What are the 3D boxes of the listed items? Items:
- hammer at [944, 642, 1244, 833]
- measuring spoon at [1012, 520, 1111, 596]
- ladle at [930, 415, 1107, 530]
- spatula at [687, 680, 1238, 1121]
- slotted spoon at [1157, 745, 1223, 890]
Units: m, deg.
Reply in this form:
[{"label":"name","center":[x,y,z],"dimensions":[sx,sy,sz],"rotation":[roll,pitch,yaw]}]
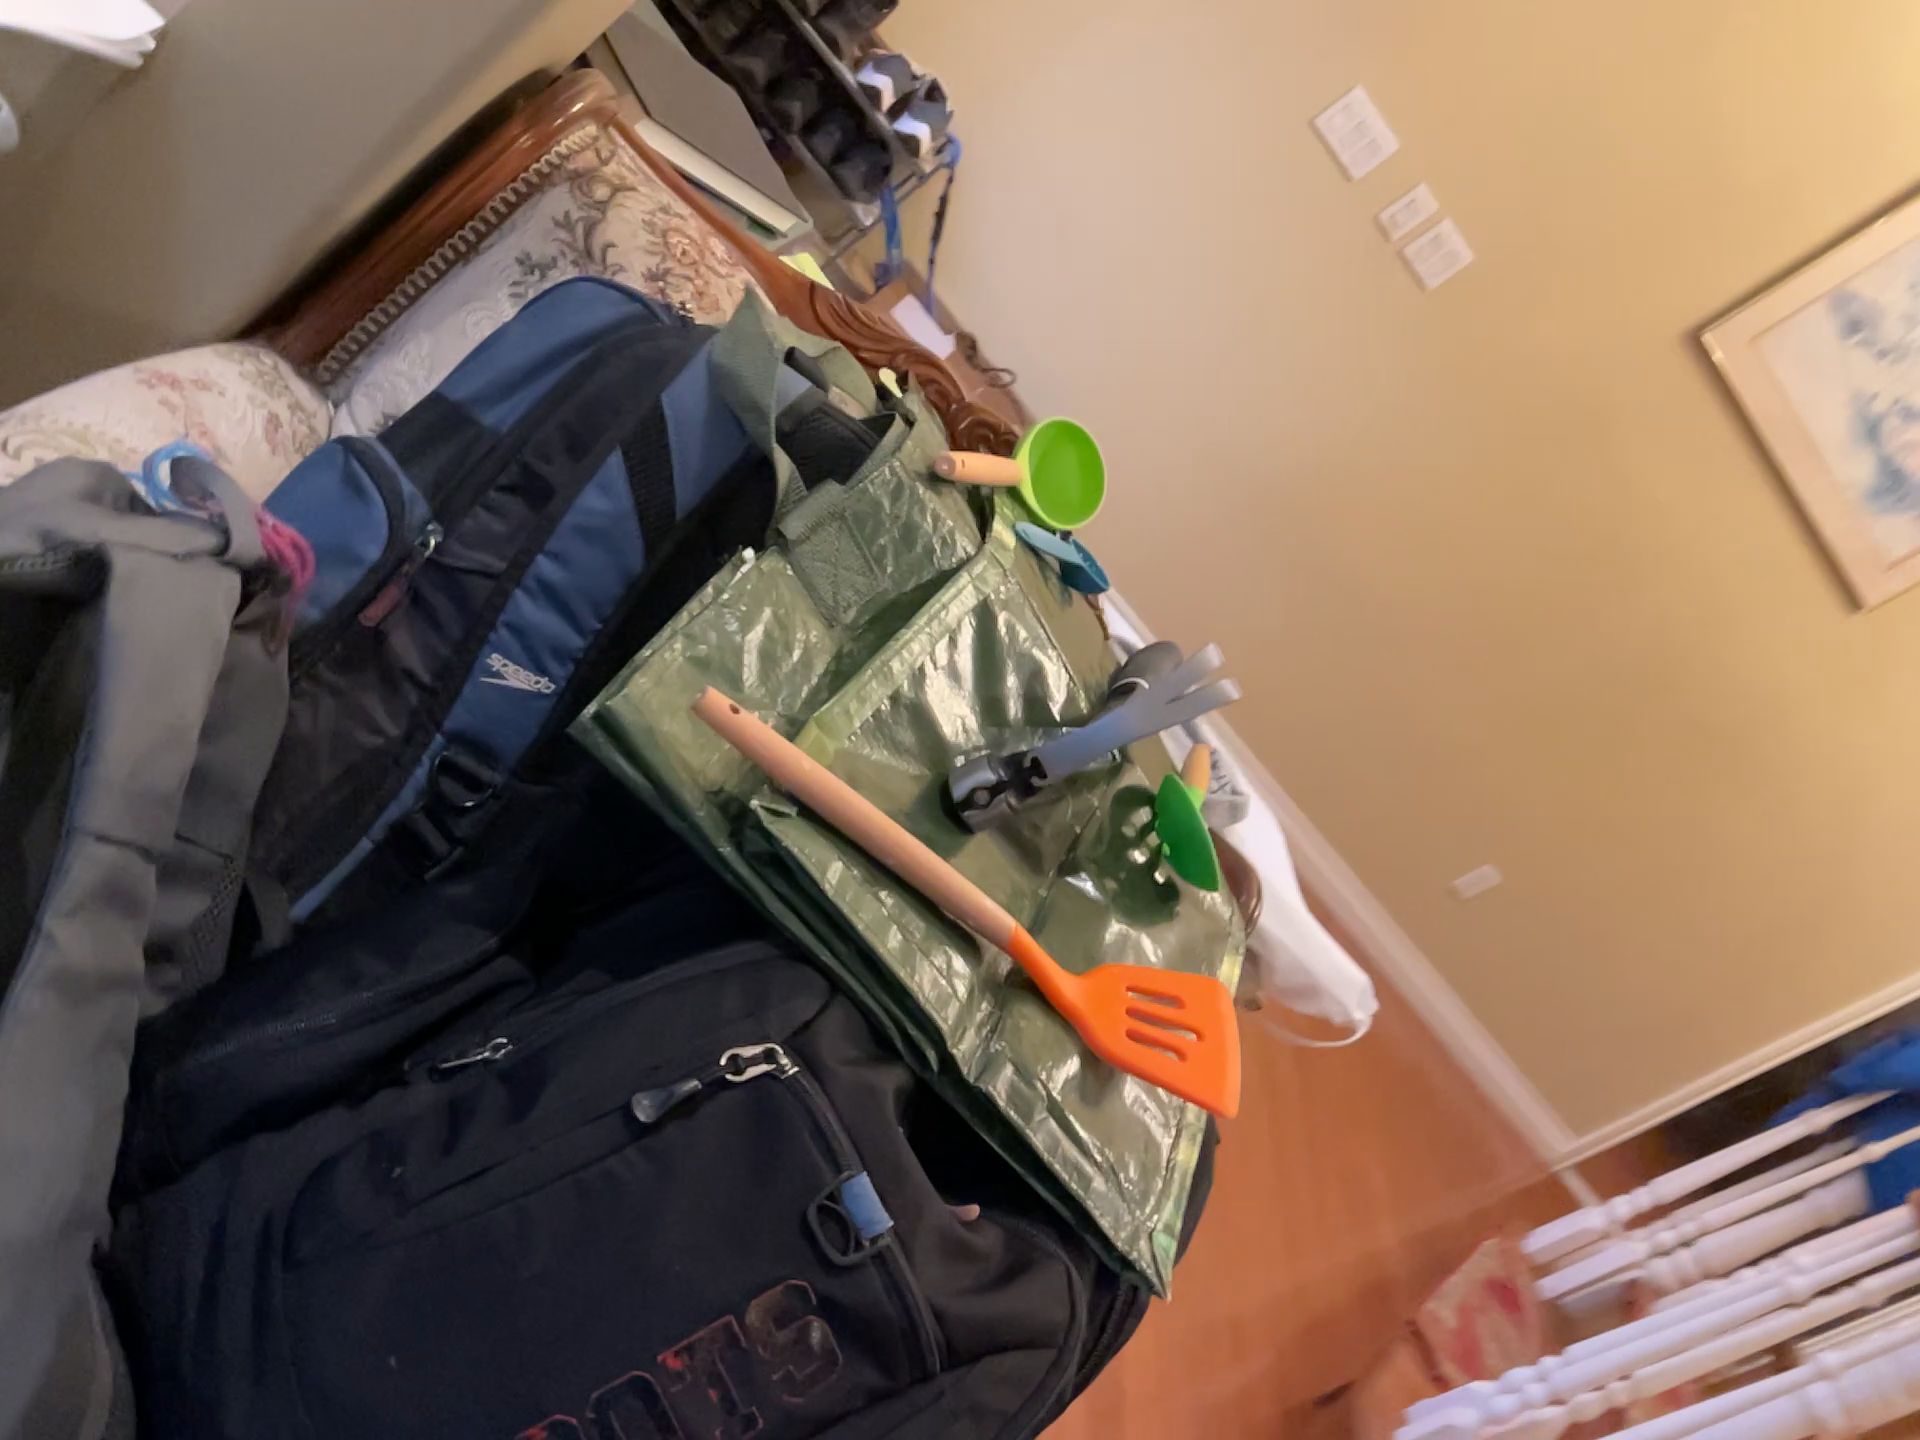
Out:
[{"label":"hammer","center":[0.103,-0.015,0.950],"dimensions":[0.036,0.149,0.409],"rotation":[64,15,-2]},{"label":"measuring spoon","center":[0.056,-0.100,0.975],"dimensions":[0.128,0.021,0.042],"rotation":[14,44,-61]},{"label":"ladle","center":[0.038,-0.152,0.958],"dimensions":[0.320,0.062,0.078],"rotation":[-29,110,-75]},{"label":"spatula","center":[0.010,0.078,0.709],"dimensions":[0.322,0.041,0.081],"rotation":[41,33,-26]},{"label":"slotted spoon","center":[0.145,0.046,0.987],"dimensions":[0.314,0.031,0.070],"rotation":[-39,109,-78]}]
